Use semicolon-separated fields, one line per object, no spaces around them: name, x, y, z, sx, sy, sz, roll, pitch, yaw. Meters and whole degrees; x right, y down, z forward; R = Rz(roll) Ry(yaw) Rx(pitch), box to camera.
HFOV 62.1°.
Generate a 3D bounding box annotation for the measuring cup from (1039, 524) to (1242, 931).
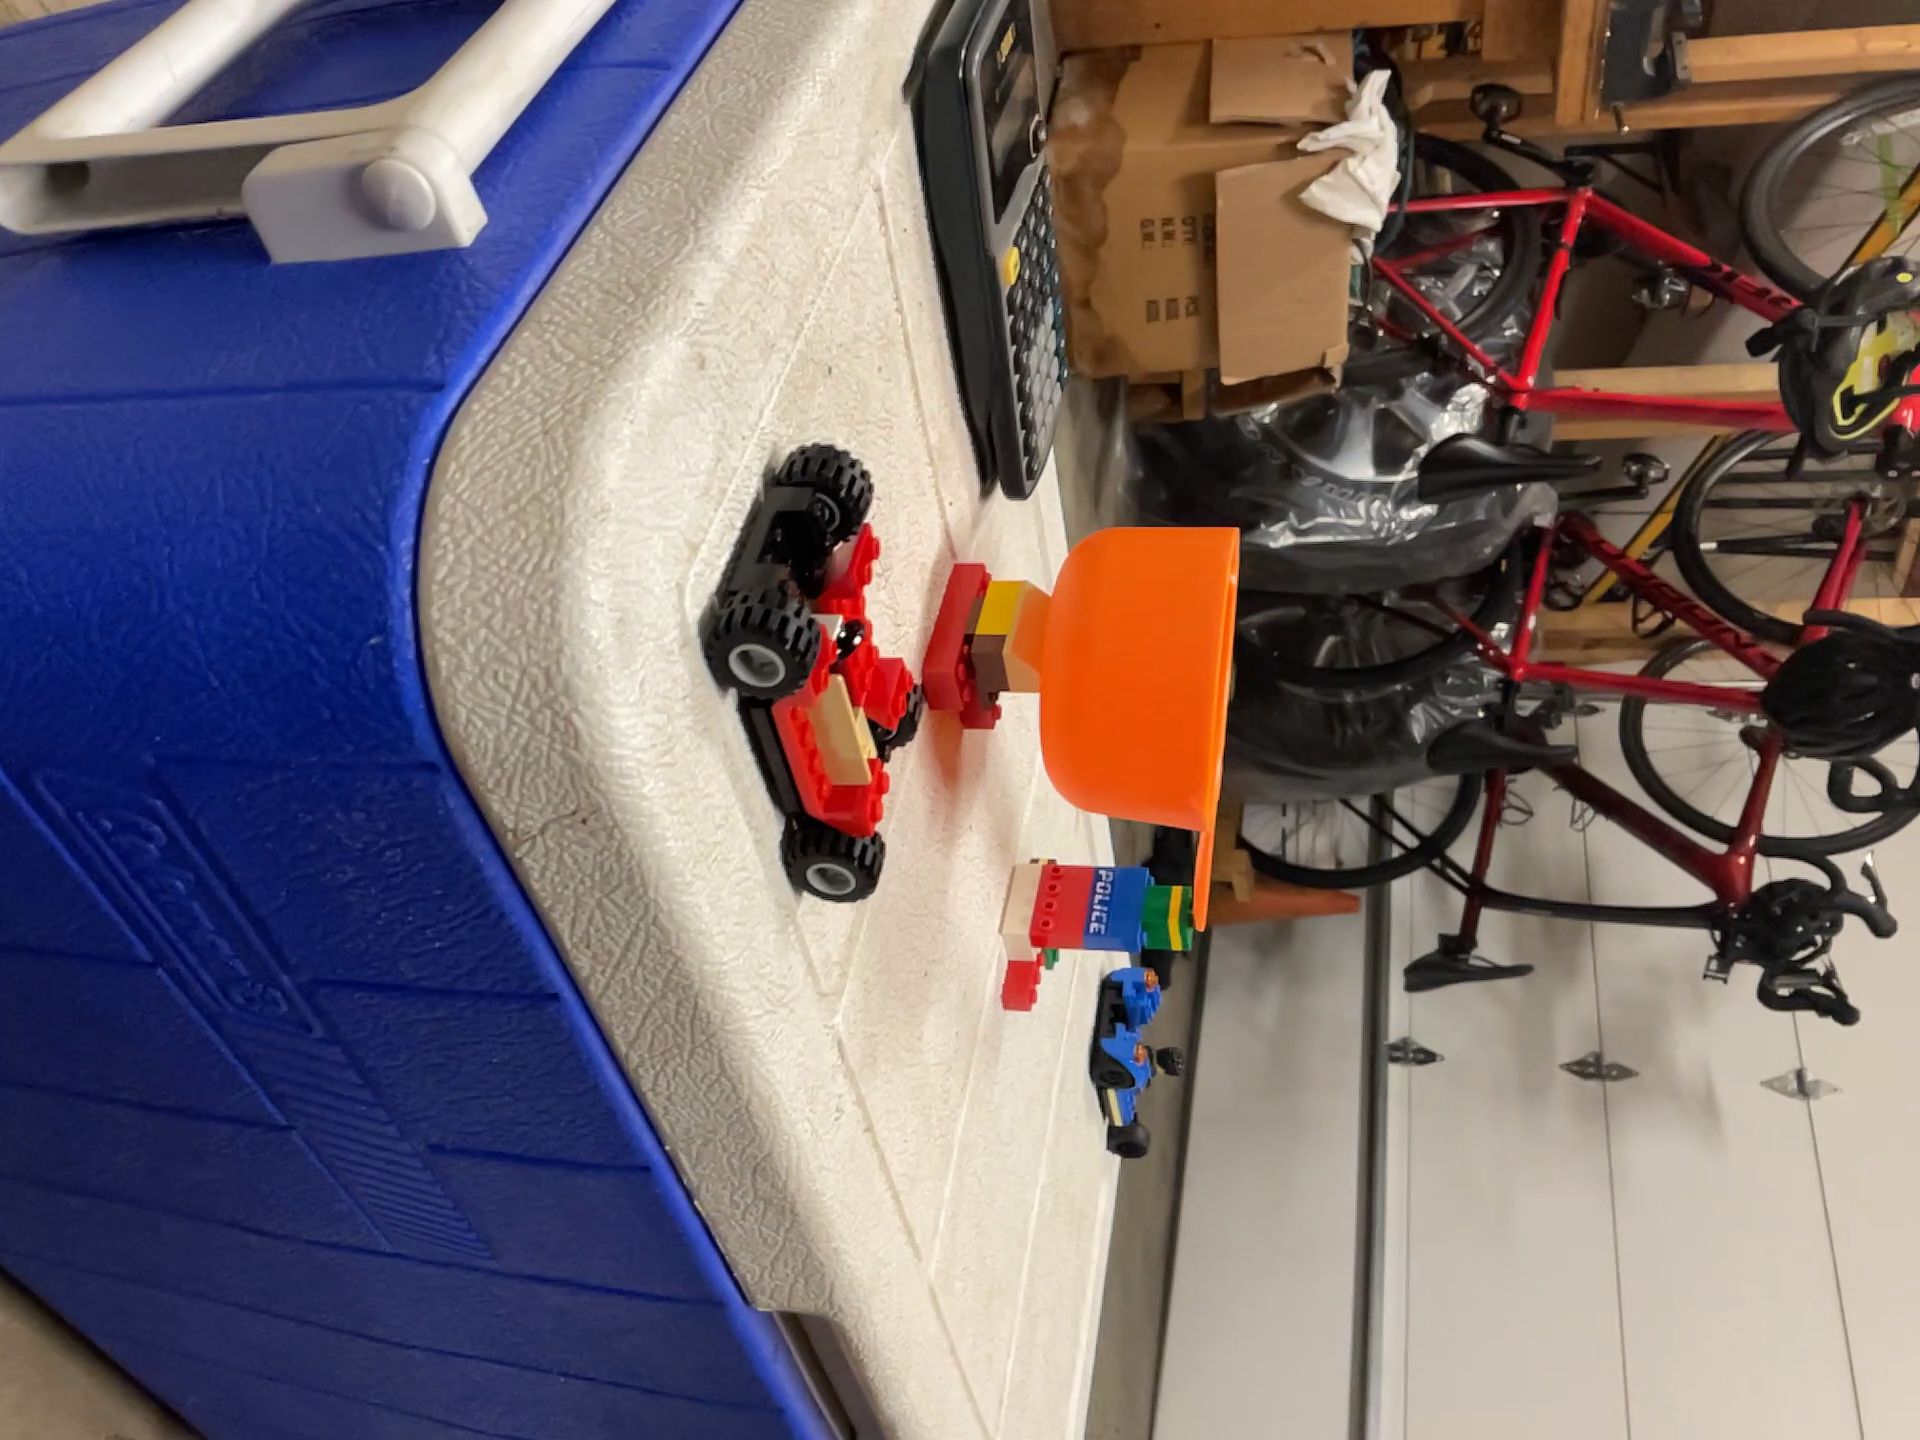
measuring cup;0.056;0.013;0.493;0.173;0.052;0.095;82;17;-50
